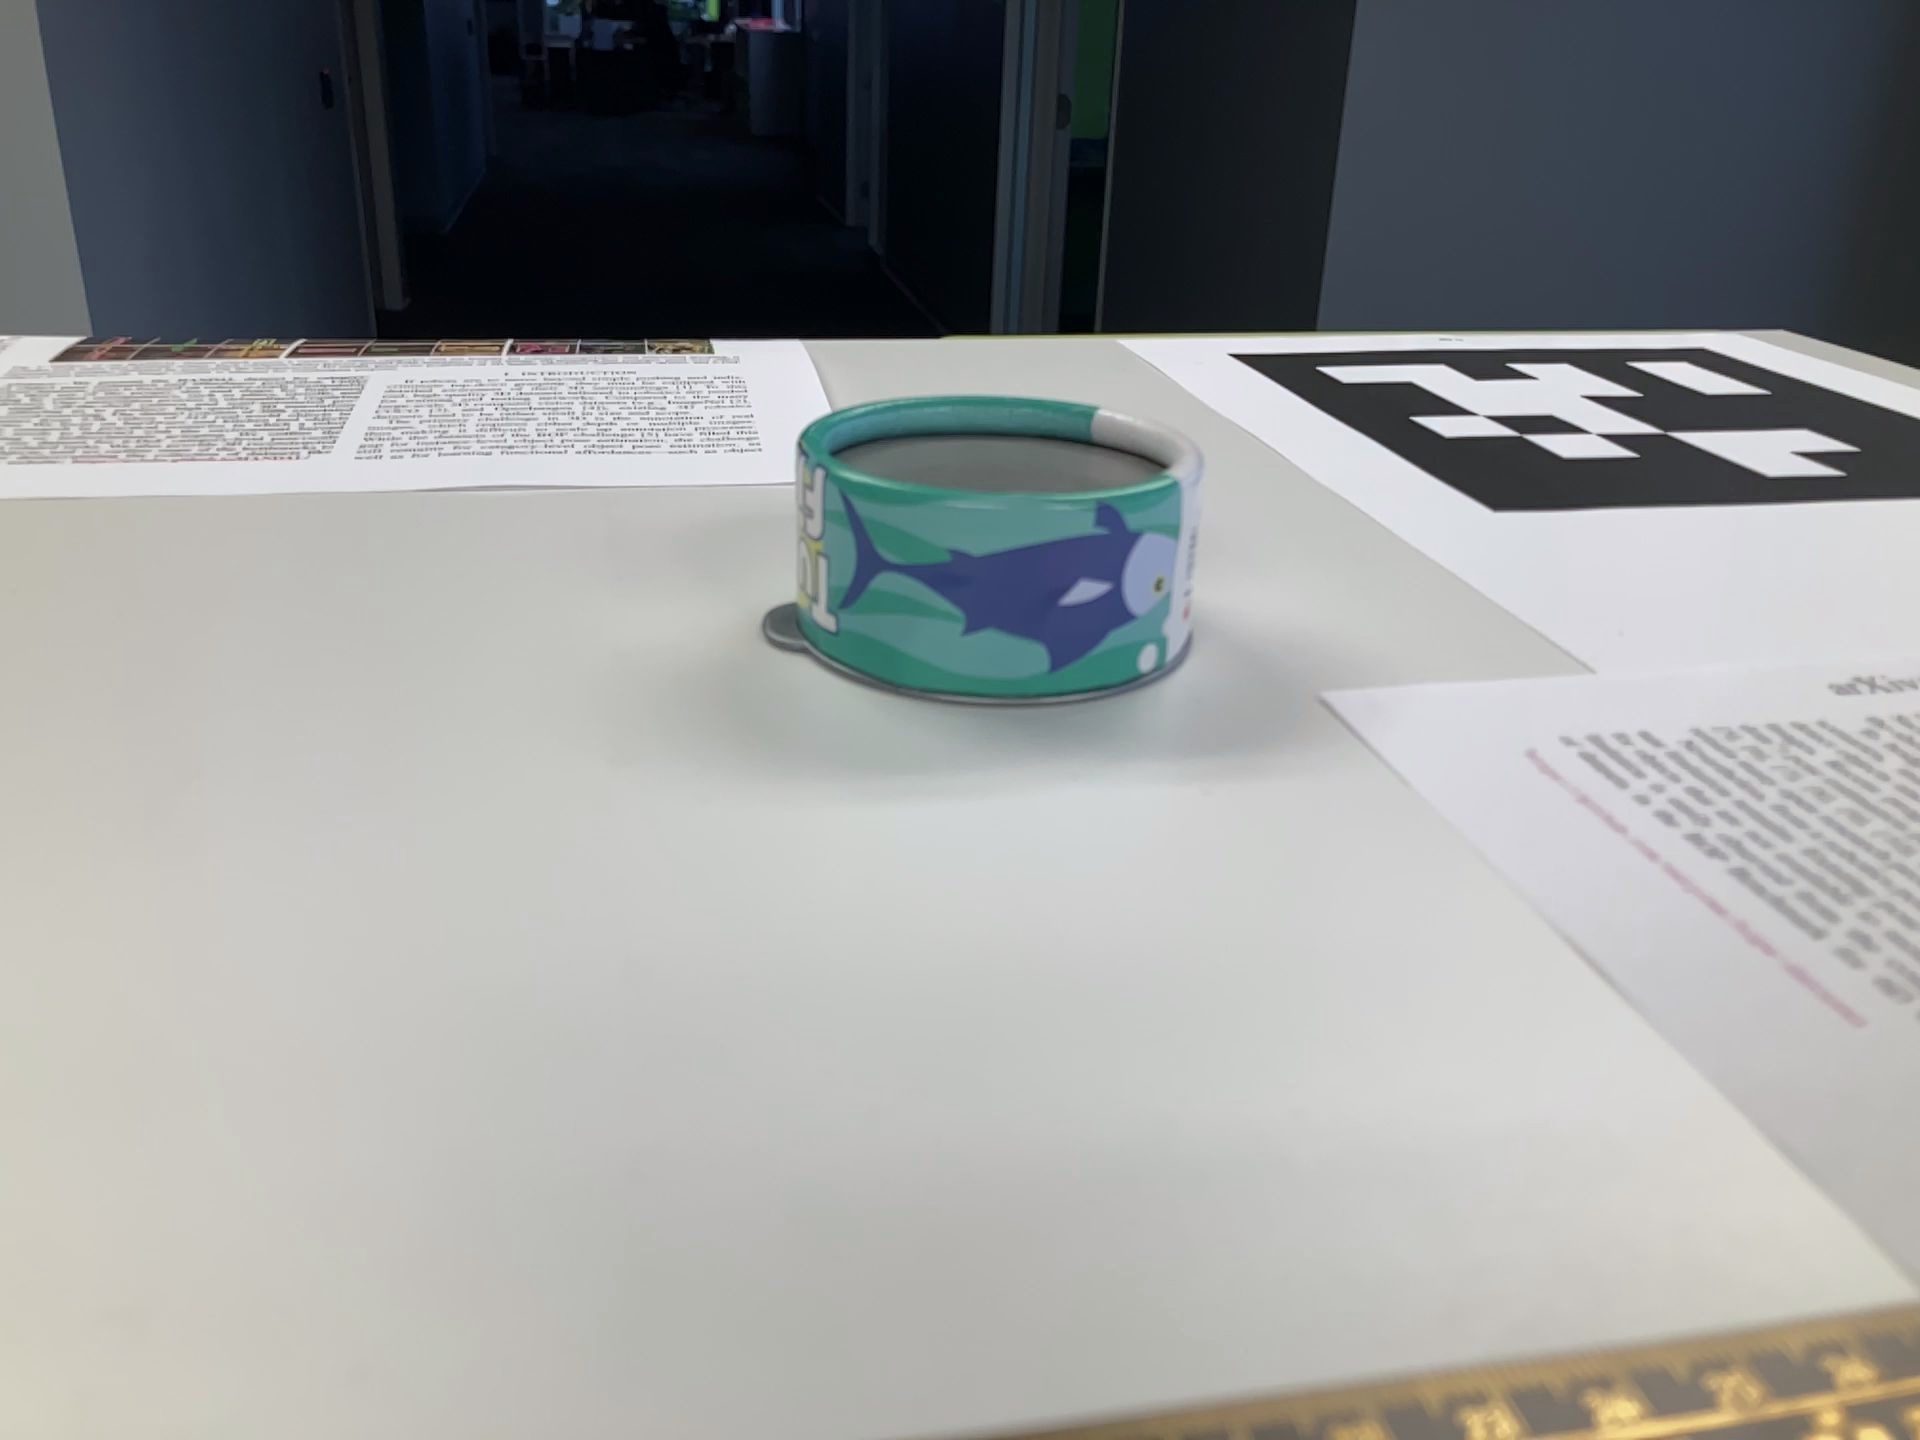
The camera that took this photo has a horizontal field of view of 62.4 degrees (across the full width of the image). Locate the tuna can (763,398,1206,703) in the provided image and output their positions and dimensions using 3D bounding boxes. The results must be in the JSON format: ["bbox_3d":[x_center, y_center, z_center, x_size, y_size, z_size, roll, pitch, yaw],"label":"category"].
[{"bbox_3d":[0.003,-0.030,0.256,0.071,0.033,0.071,1,23,0],"label":"tuna can"}]
